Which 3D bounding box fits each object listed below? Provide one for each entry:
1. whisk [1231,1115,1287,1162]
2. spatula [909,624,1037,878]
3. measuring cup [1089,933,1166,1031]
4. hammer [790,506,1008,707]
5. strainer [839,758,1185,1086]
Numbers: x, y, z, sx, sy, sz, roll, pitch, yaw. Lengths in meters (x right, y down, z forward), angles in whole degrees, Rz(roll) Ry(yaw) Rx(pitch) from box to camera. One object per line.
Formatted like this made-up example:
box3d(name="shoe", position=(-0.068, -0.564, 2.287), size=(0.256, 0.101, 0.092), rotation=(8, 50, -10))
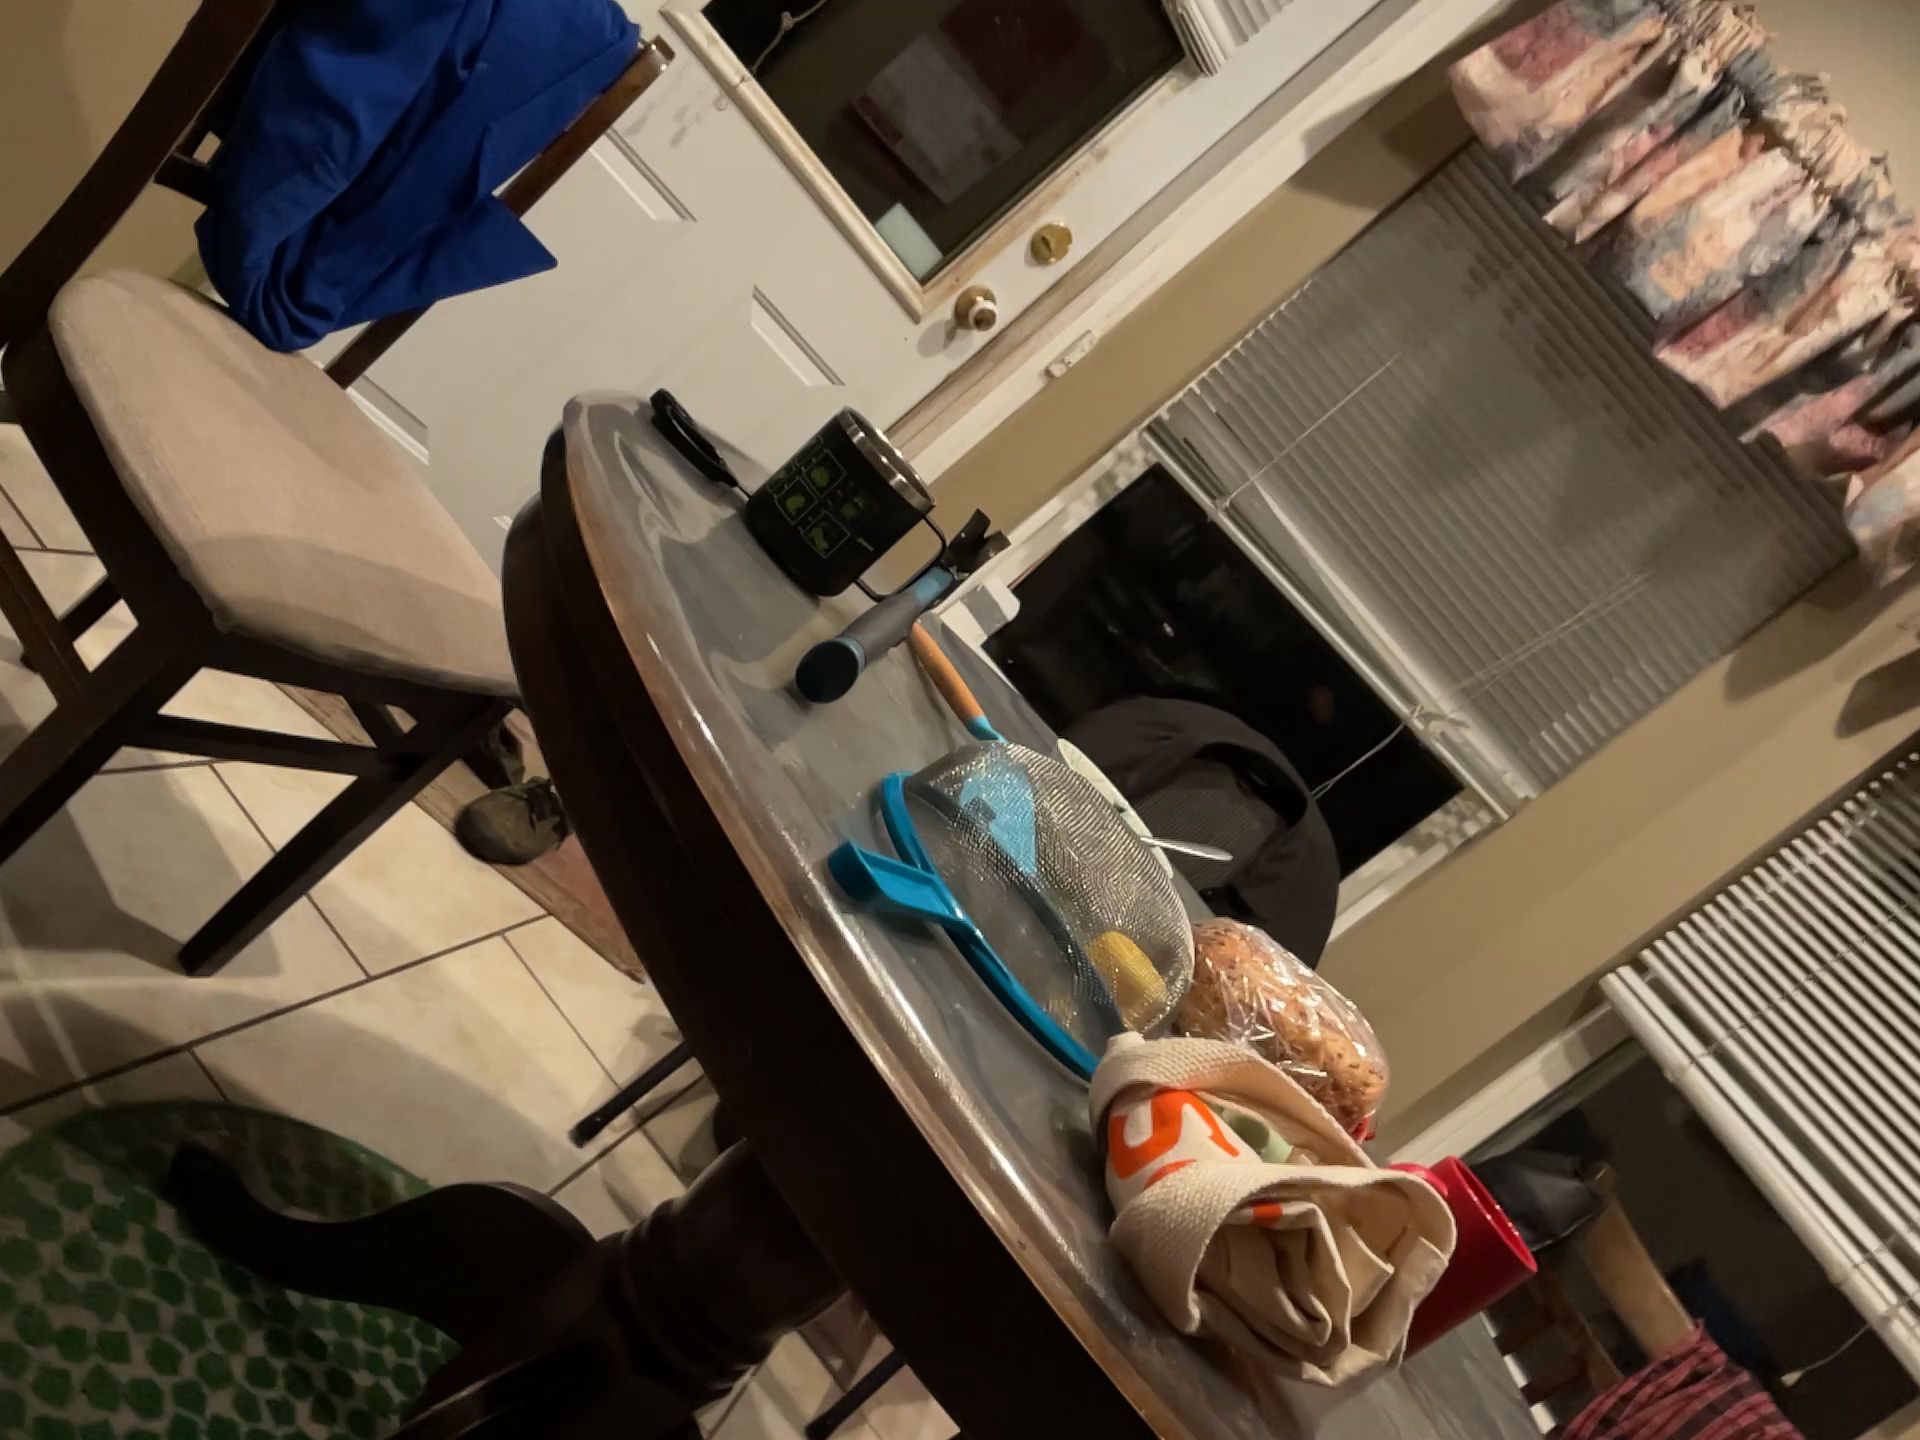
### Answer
box3d(name="whisk", position=(0.172, 0.237, 0.849), size=(0.246, 0.058, 0.059), rotation=(51, 35, -60))
box3d(name="spatula", position=(-0.003, 0.002, 1.129), size=(0.082, 0.044, 0.318), rotation=(44, 7, -29))
box3d(name="measuring cup", position=(0.119, 0.184, 0.945), size=(0.062, 0.029, 0.157), rotation=(42, 11, -39))
box3d(name="hammer", position=(-0.043, -0.065, 1.005), size=(0.033, 0.128, 0.331), rotation=(47, 18, -4))
box3d(name="strainer", position=(0.036, 0.075, 0.800), size=(0.211, 0.095, 0.340), rotation=(53, 6, 21))
